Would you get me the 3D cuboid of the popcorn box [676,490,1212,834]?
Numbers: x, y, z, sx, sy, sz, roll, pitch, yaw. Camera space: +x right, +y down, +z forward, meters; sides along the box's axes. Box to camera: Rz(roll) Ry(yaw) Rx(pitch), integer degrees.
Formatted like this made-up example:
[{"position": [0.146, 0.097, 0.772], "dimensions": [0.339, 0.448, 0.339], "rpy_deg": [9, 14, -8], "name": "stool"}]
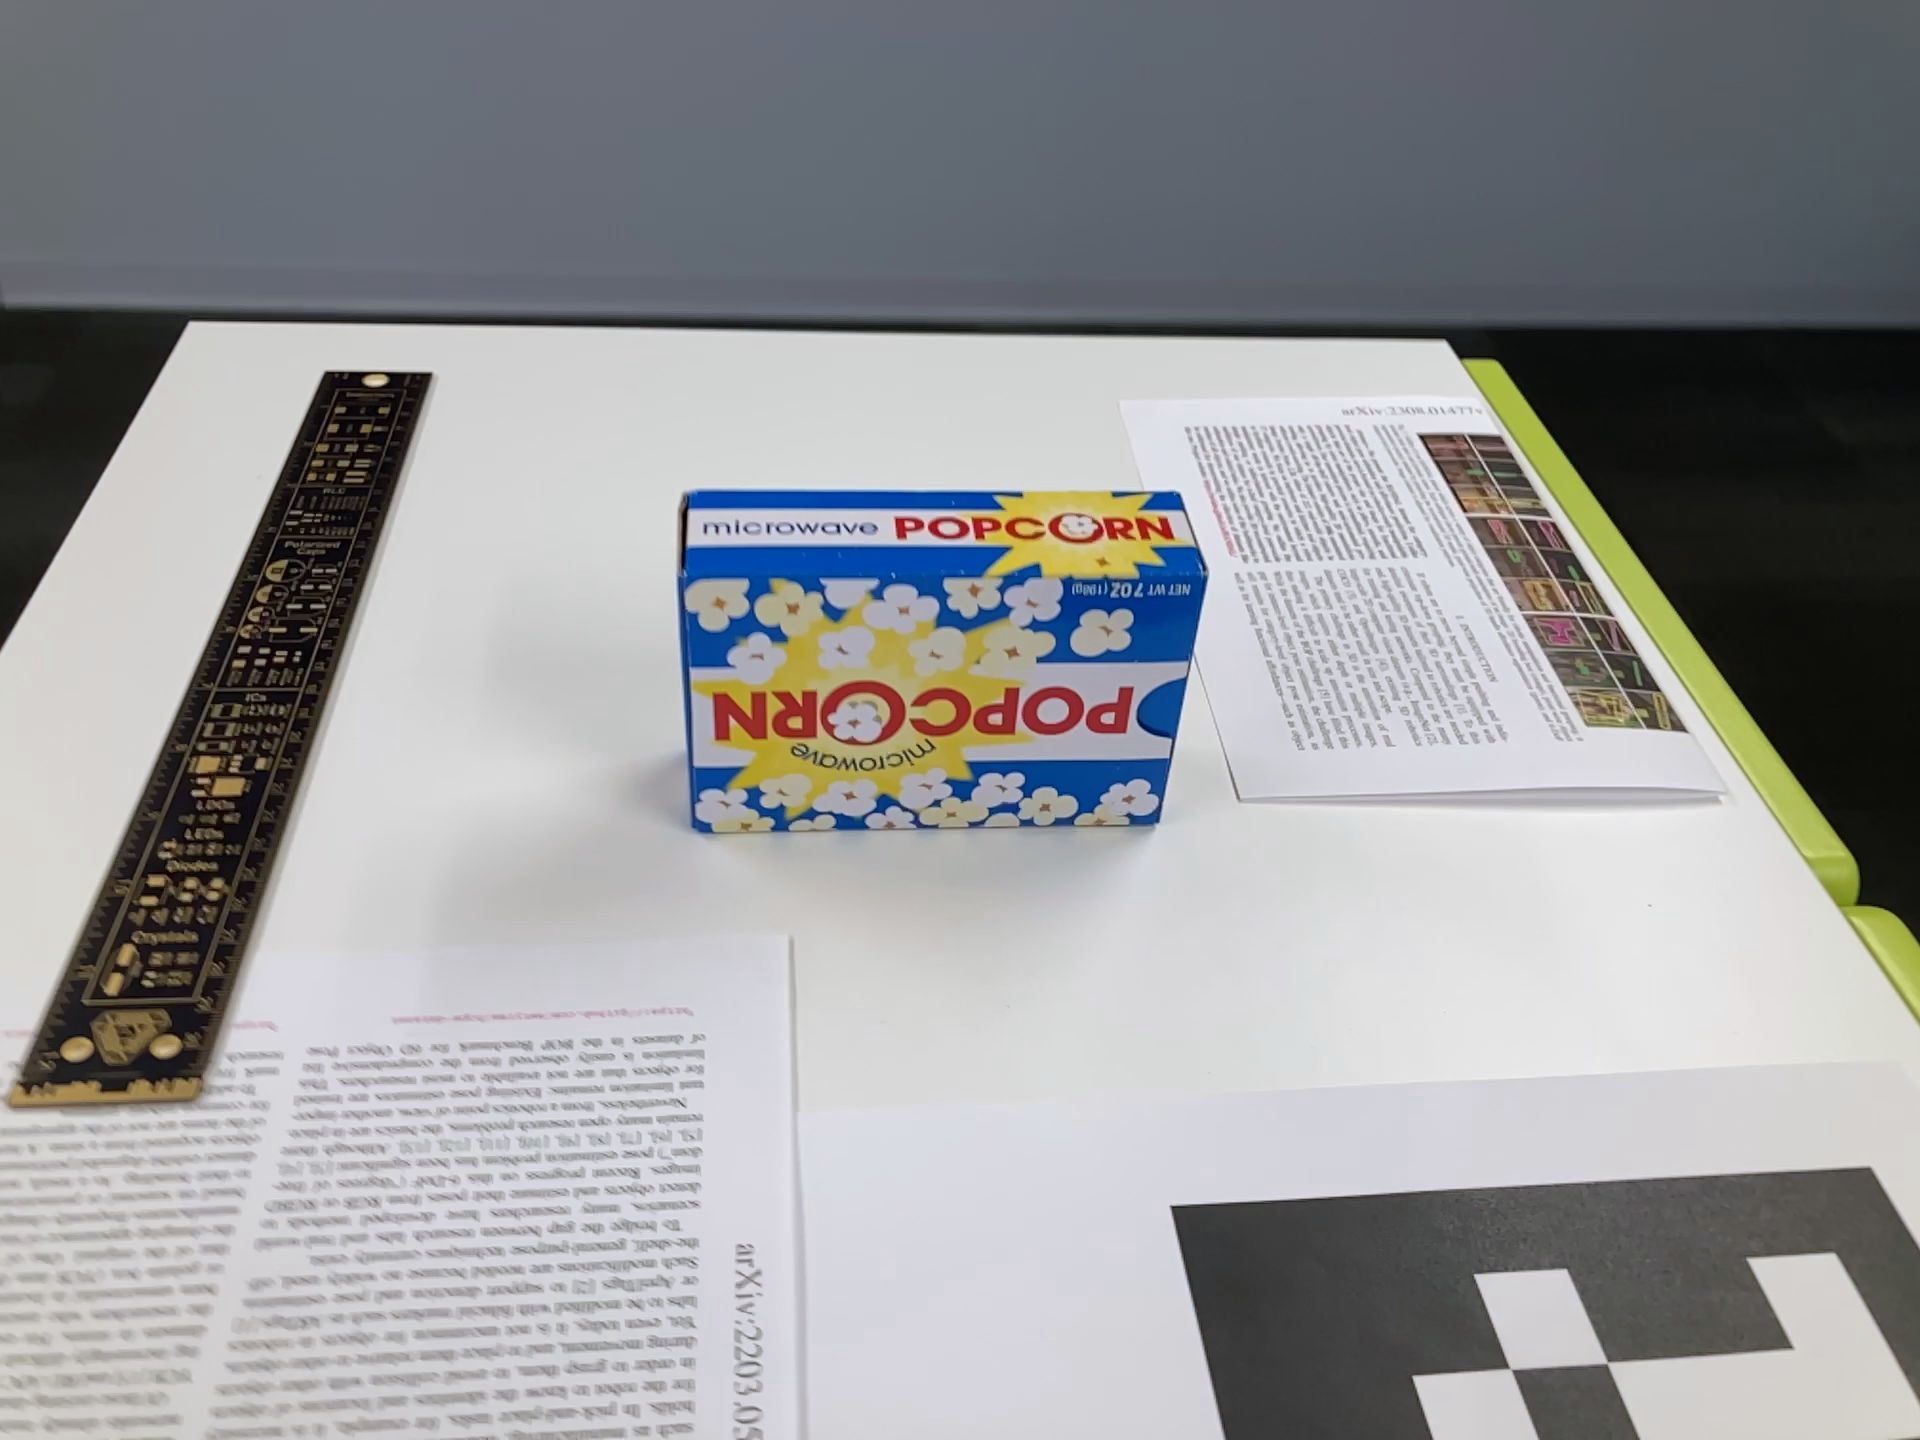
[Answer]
[{"position": [-0.007, -0.014, 0.407], "dimensions": [0.126, 0.085, 0.038], "rpy_deg": [-1, 40, -6], "name": "popcorn box"}]
